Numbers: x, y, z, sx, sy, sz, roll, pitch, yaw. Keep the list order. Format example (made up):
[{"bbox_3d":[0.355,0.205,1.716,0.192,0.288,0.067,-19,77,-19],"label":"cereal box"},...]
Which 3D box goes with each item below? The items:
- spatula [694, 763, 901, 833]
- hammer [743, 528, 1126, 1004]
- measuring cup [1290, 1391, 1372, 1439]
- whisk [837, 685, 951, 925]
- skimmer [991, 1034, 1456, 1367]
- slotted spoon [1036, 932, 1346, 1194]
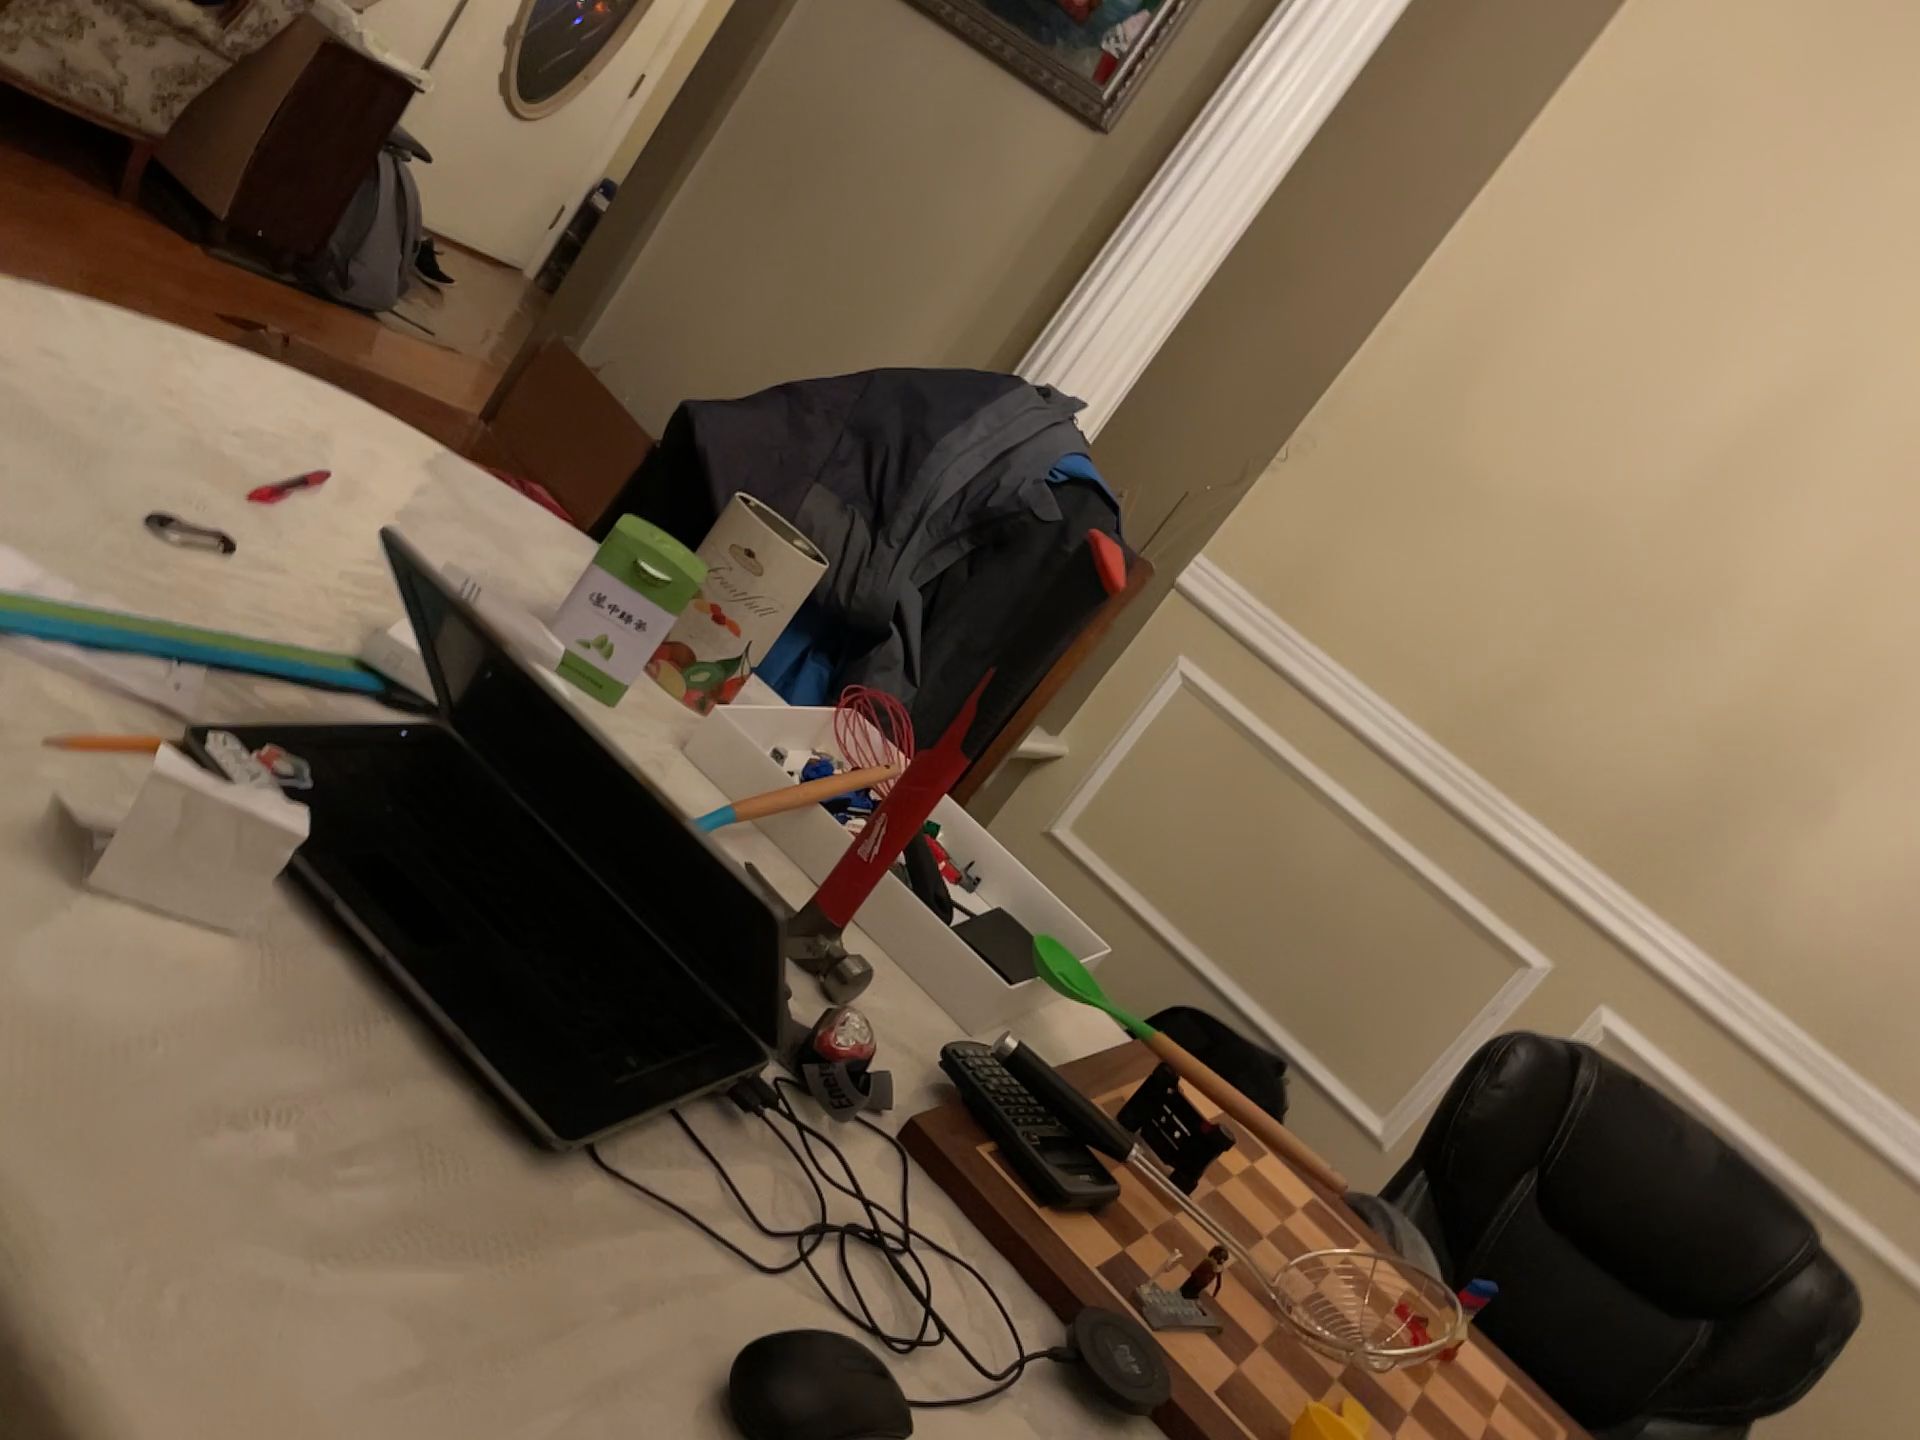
[{"bbox_3d":[-0.158,0.062,1.259,0.317,0.044,0.082,-14,48,-46],"label":"spatula"},{"bbox_3d":[-0.020,0.016,1.146,0.143,0.386,0.038,43,16,25],"label":"hammer"},{"bbox_3d":[0.245,0.459,1.021,0.062,0.029,0.156,39,1,22],"label":"measuring cup"},{"bbox_3d":[-0.058,0.075,1.482,0.073,0.073,0.296,7,42,-29],"label":"whisk"},{"bbox_3d":[0.185,0.326,1.126,0.363,0.090,0.127,41,16,-1],"label":"skimmer"},{"bbox_3d":[0.170,0.264,1.238,0.314,0.031,0.070,35,9,34],"label":"slotted spoon"}]
